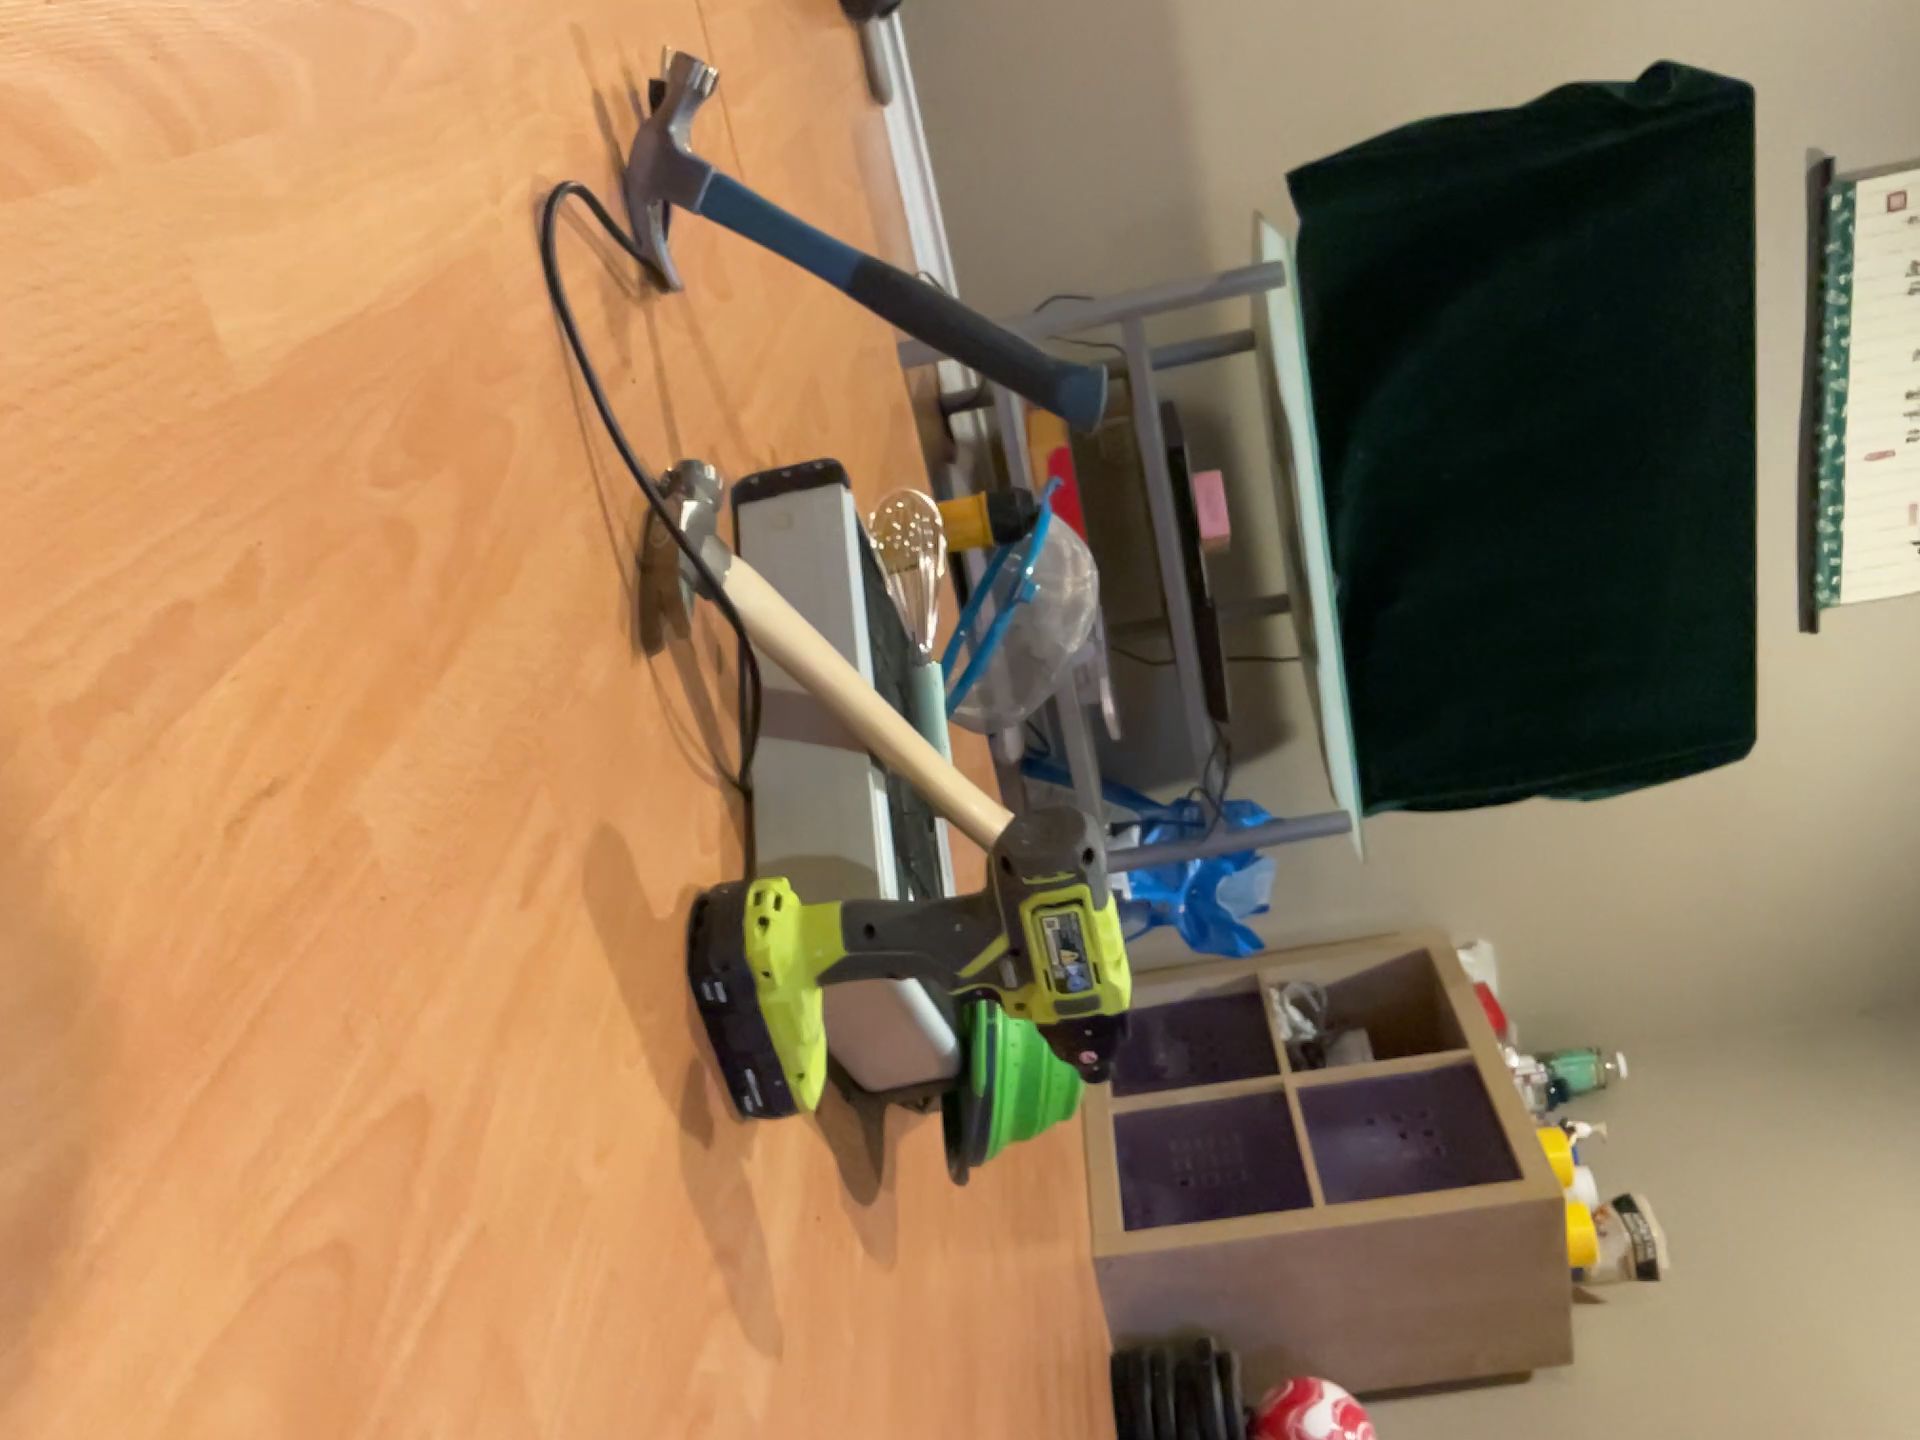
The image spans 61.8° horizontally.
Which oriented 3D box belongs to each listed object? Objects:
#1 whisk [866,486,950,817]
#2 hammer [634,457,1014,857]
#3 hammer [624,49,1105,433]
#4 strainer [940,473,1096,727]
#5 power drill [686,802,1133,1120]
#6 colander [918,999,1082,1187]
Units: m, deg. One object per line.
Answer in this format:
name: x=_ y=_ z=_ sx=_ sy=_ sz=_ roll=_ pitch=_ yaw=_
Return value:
whisk: x=-0.029 y=-0.050 z=1.184 sx=0.058 sy=0.059 sz=0.246 roll=180 pitch=-98 yaw=-67
hammer: x=-0.047 y=0.015 z=0.992 sx=0.410 sy=0.038 sz=0.146 roll=44 pitch=27 yaw=-36
hammer: x=-0.054 y=-0.275 z=0.996 sx=0.128 sy=0.331 sz=0.033 roll=-61 pitch=-173 yaw=18
strainer: x=0.029 y=-0.029 z=1.372 sx=0.211 sy=0.095 sz=0.340 roll=-74 pitch=-170 yaw=-53
power drill: x=-0.021 y=0.142 z=0.870 sx=0.080 sy=0.223 sz=0.171 roll=-88 pitch=167 yaw=-60
colander: x=0.029 y=0.273 z=1.273 sx=0.396 sy=0.094 sz=0.204 roll=108 pitch=-17 yaw=-67
